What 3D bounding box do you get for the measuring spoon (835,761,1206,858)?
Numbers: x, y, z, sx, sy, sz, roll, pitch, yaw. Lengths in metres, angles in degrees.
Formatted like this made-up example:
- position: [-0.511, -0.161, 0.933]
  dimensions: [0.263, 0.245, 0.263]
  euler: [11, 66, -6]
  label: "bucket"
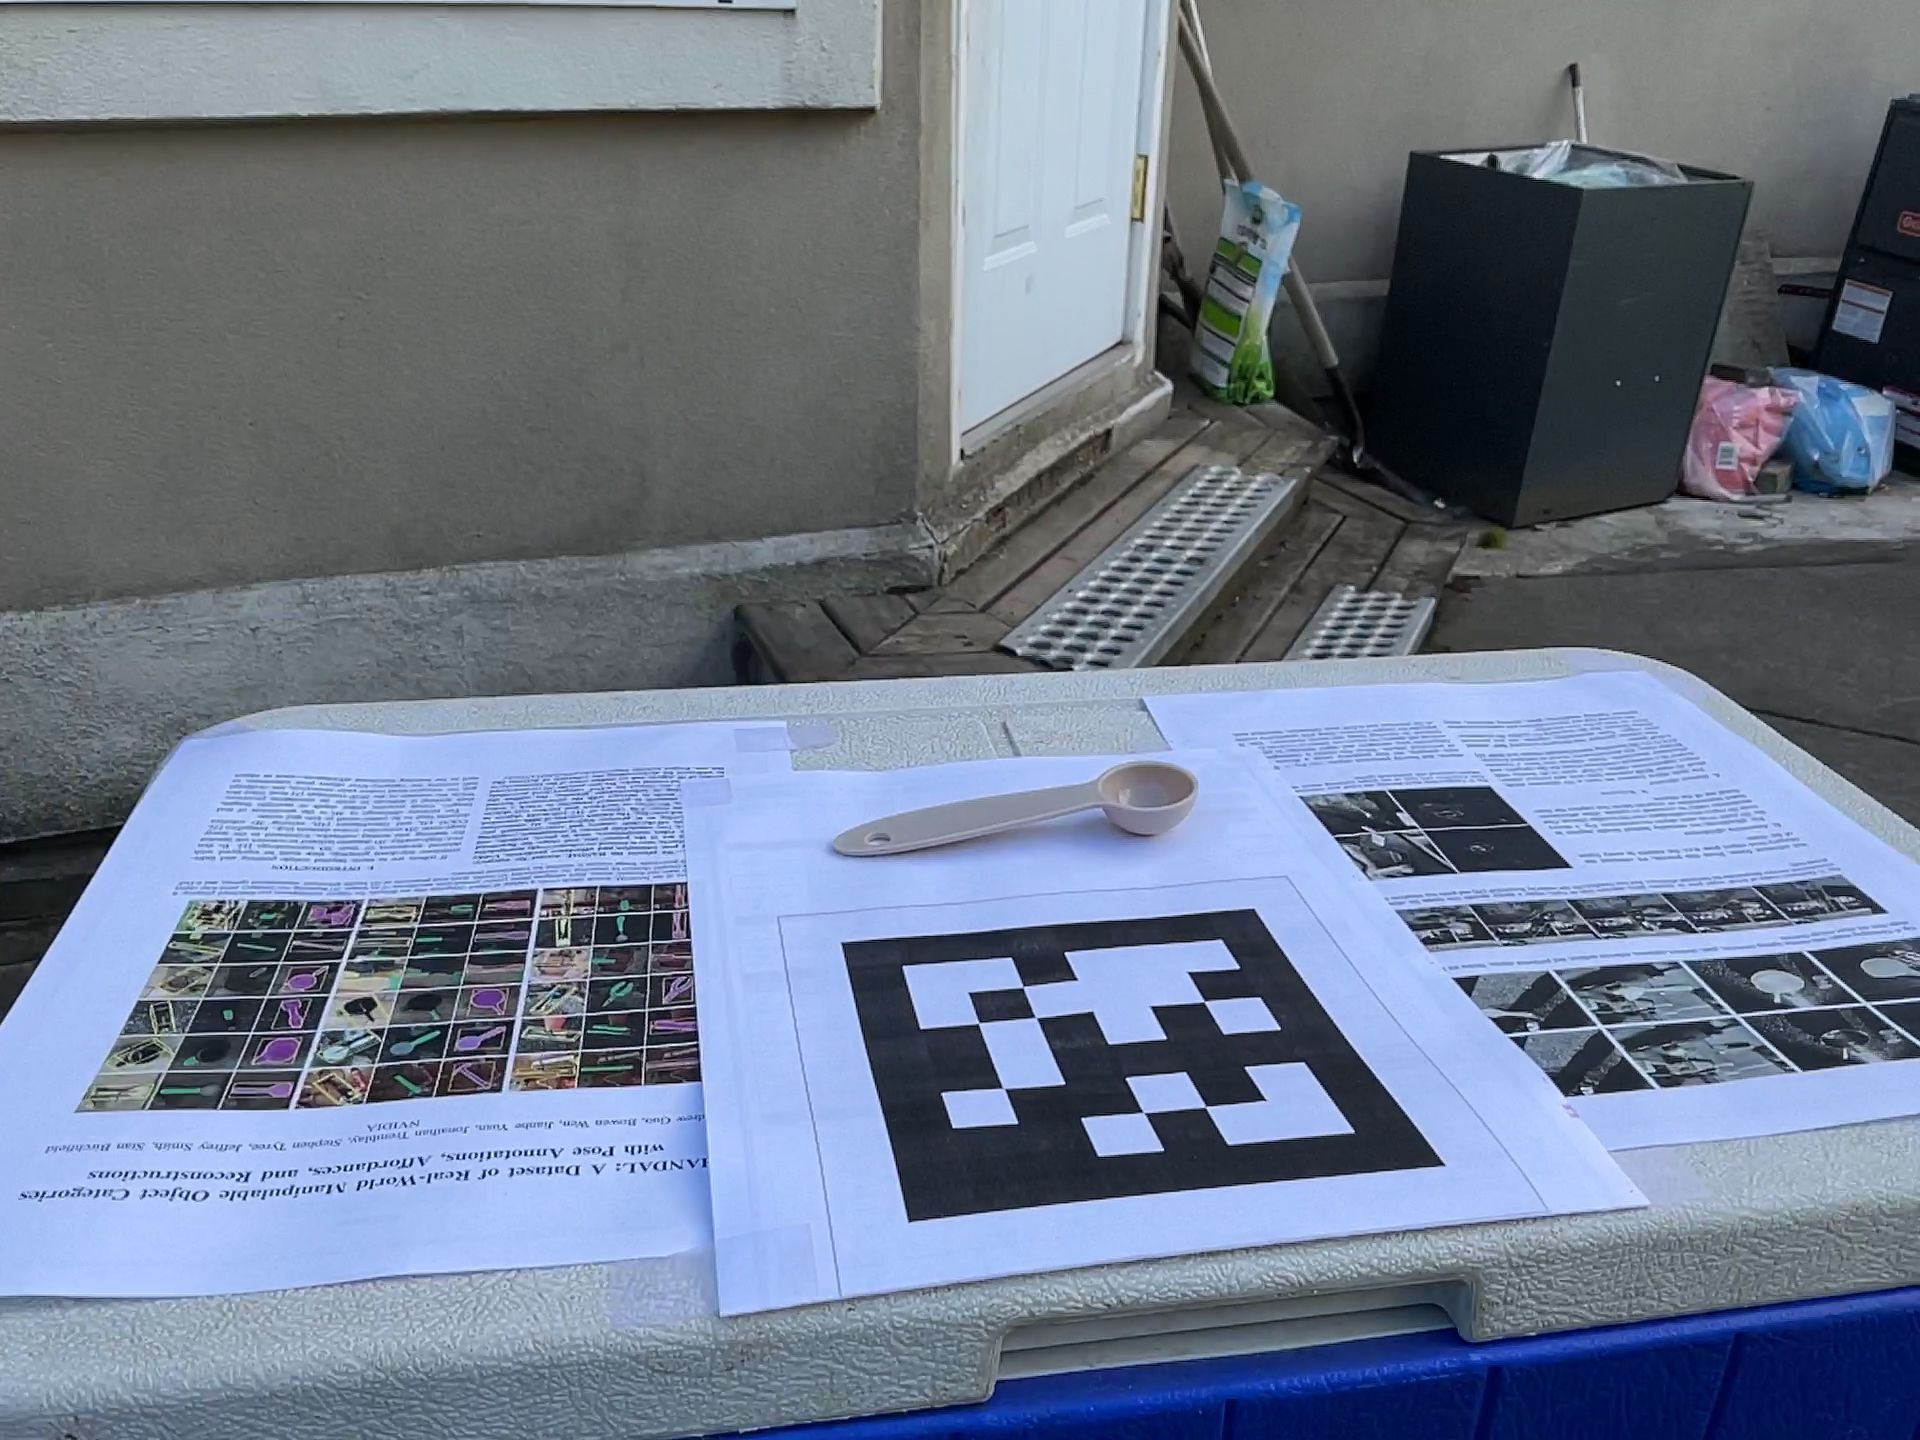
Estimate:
- position: [0.021, 0.036, 0.529]
  dimensions: [0.124, 0.018, 0.034]
  euler: [-9, 28, -7]
  label: "measuring spoon"
